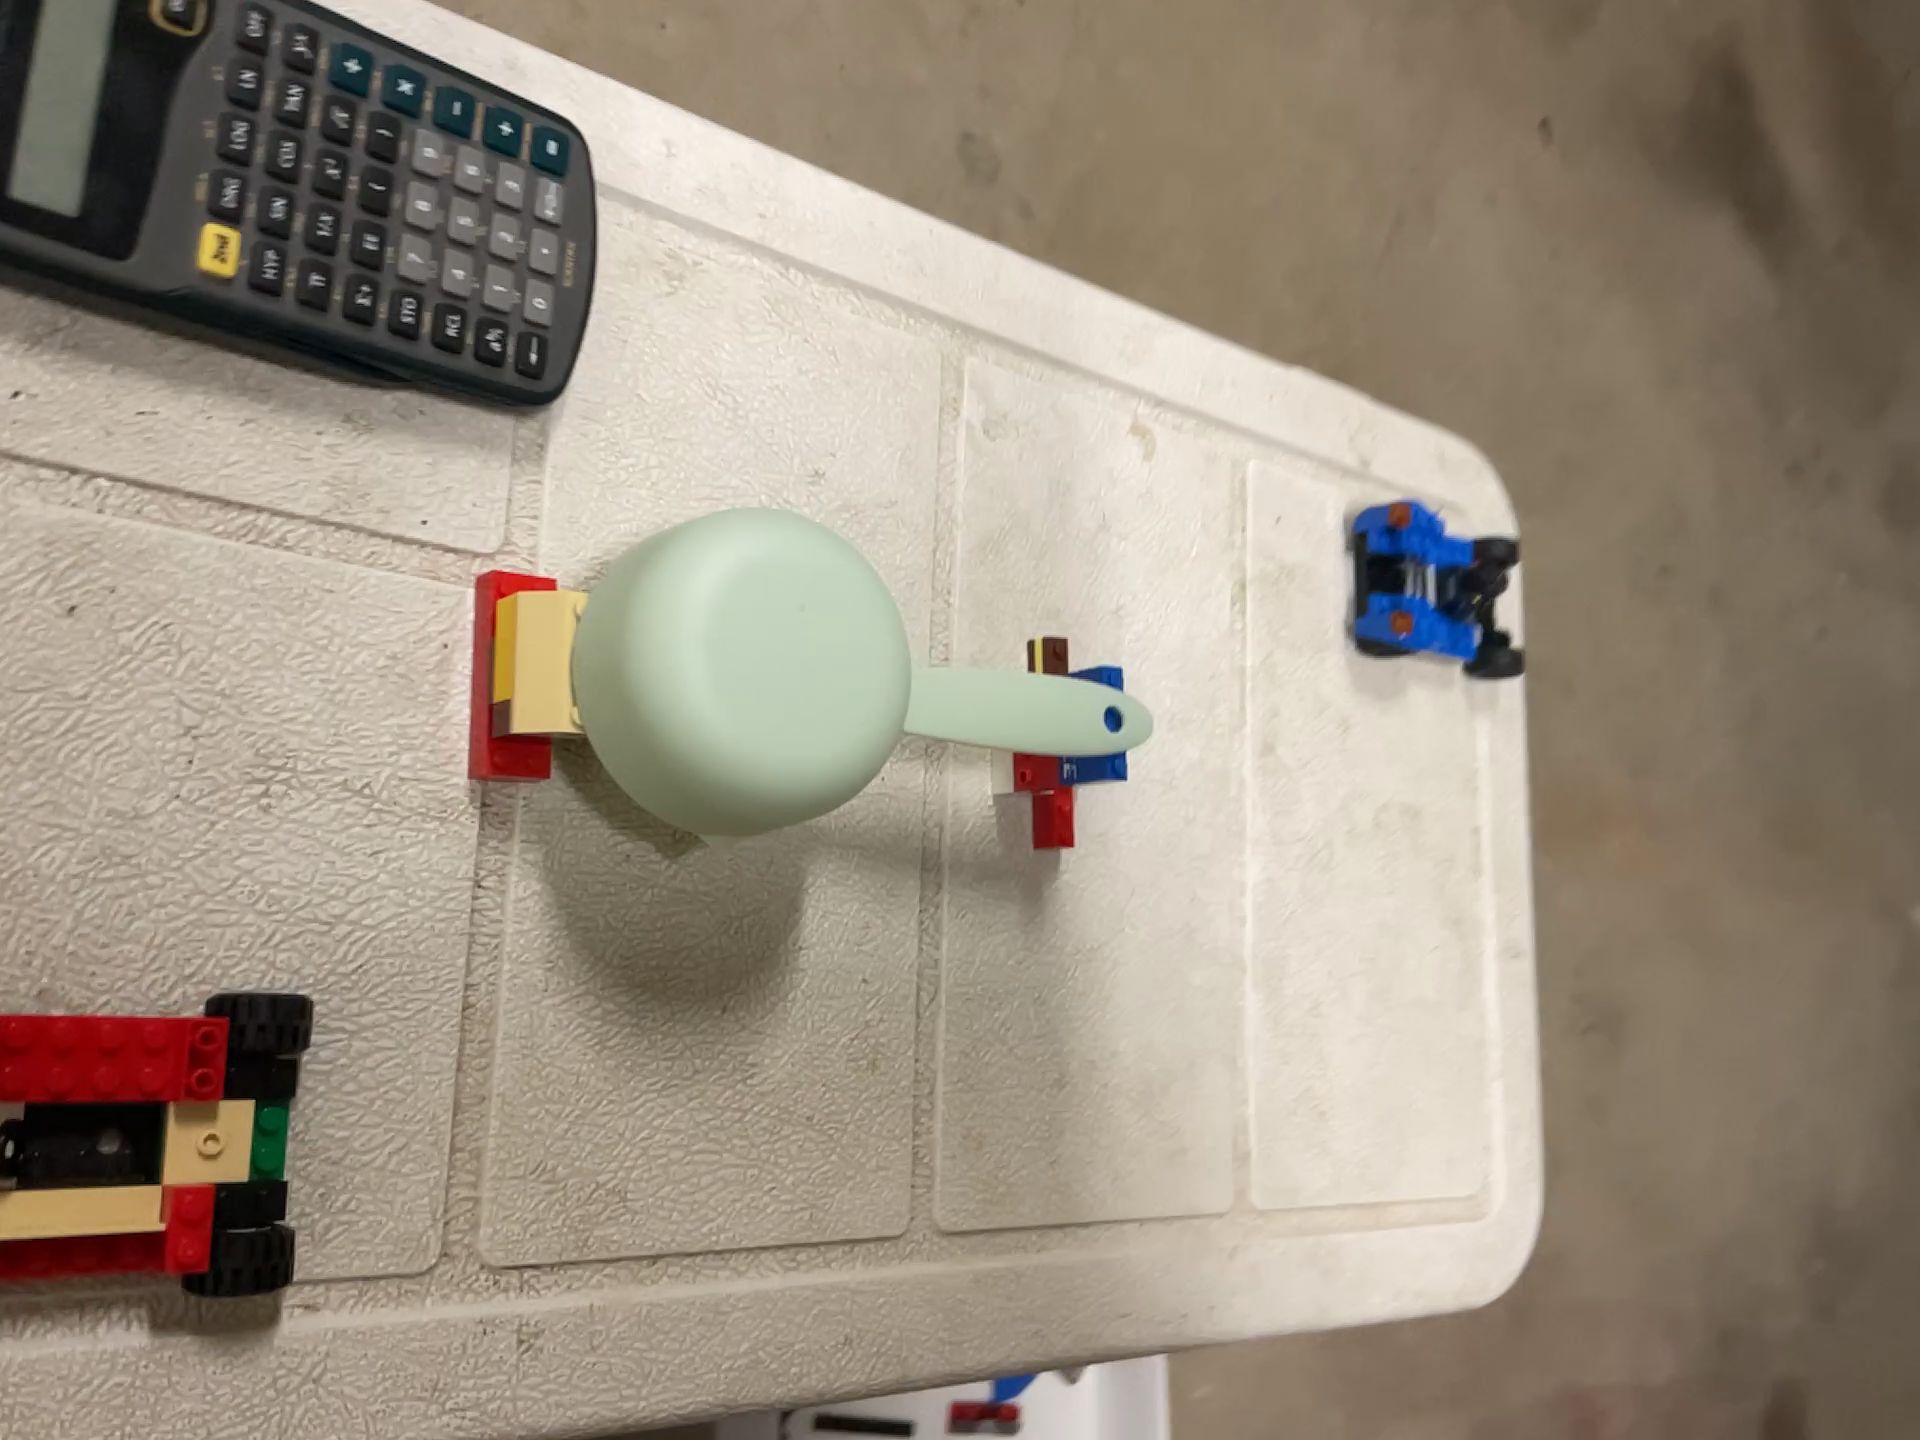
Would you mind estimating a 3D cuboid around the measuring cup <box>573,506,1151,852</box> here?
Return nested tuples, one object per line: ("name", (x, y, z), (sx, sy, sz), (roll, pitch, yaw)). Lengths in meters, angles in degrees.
("measuring cup", (-0.009, -0.008, 0.395), (0.168, 0.038, 0.083), (6, 79, -33))
